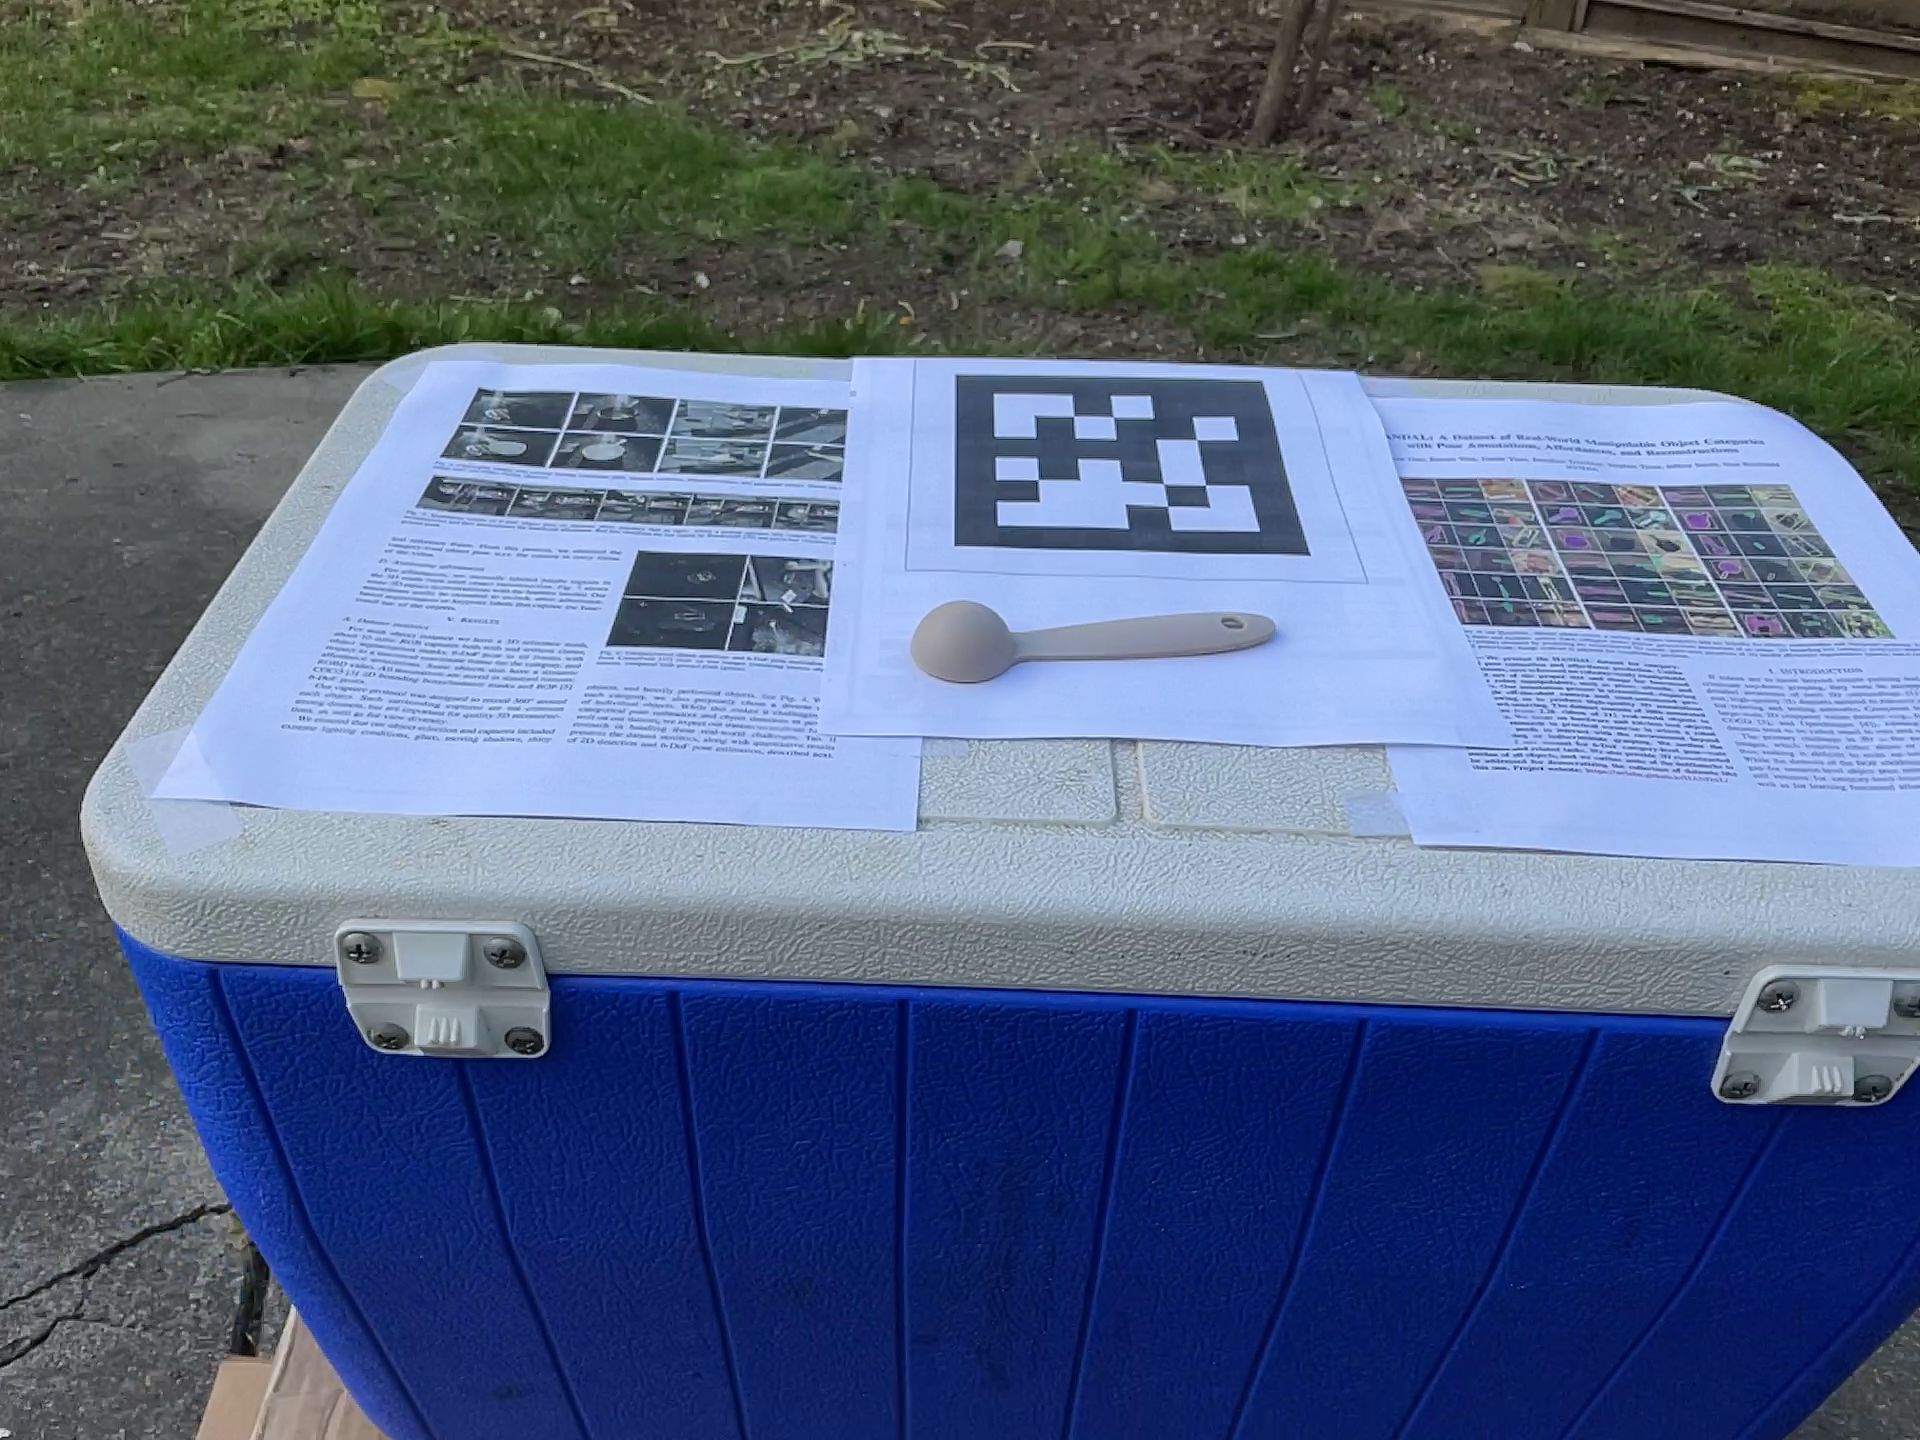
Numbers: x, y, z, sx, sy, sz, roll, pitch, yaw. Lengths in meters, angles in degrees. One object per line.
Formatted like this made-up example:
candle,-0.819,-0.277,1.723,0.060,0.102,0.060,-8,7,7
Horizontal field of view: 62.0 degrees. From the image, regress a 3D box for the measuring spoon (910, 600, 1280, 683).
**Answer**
measuring spoon,0.045,-0.032,0.521,0.124,0.018,0.034,-4,38,-8
